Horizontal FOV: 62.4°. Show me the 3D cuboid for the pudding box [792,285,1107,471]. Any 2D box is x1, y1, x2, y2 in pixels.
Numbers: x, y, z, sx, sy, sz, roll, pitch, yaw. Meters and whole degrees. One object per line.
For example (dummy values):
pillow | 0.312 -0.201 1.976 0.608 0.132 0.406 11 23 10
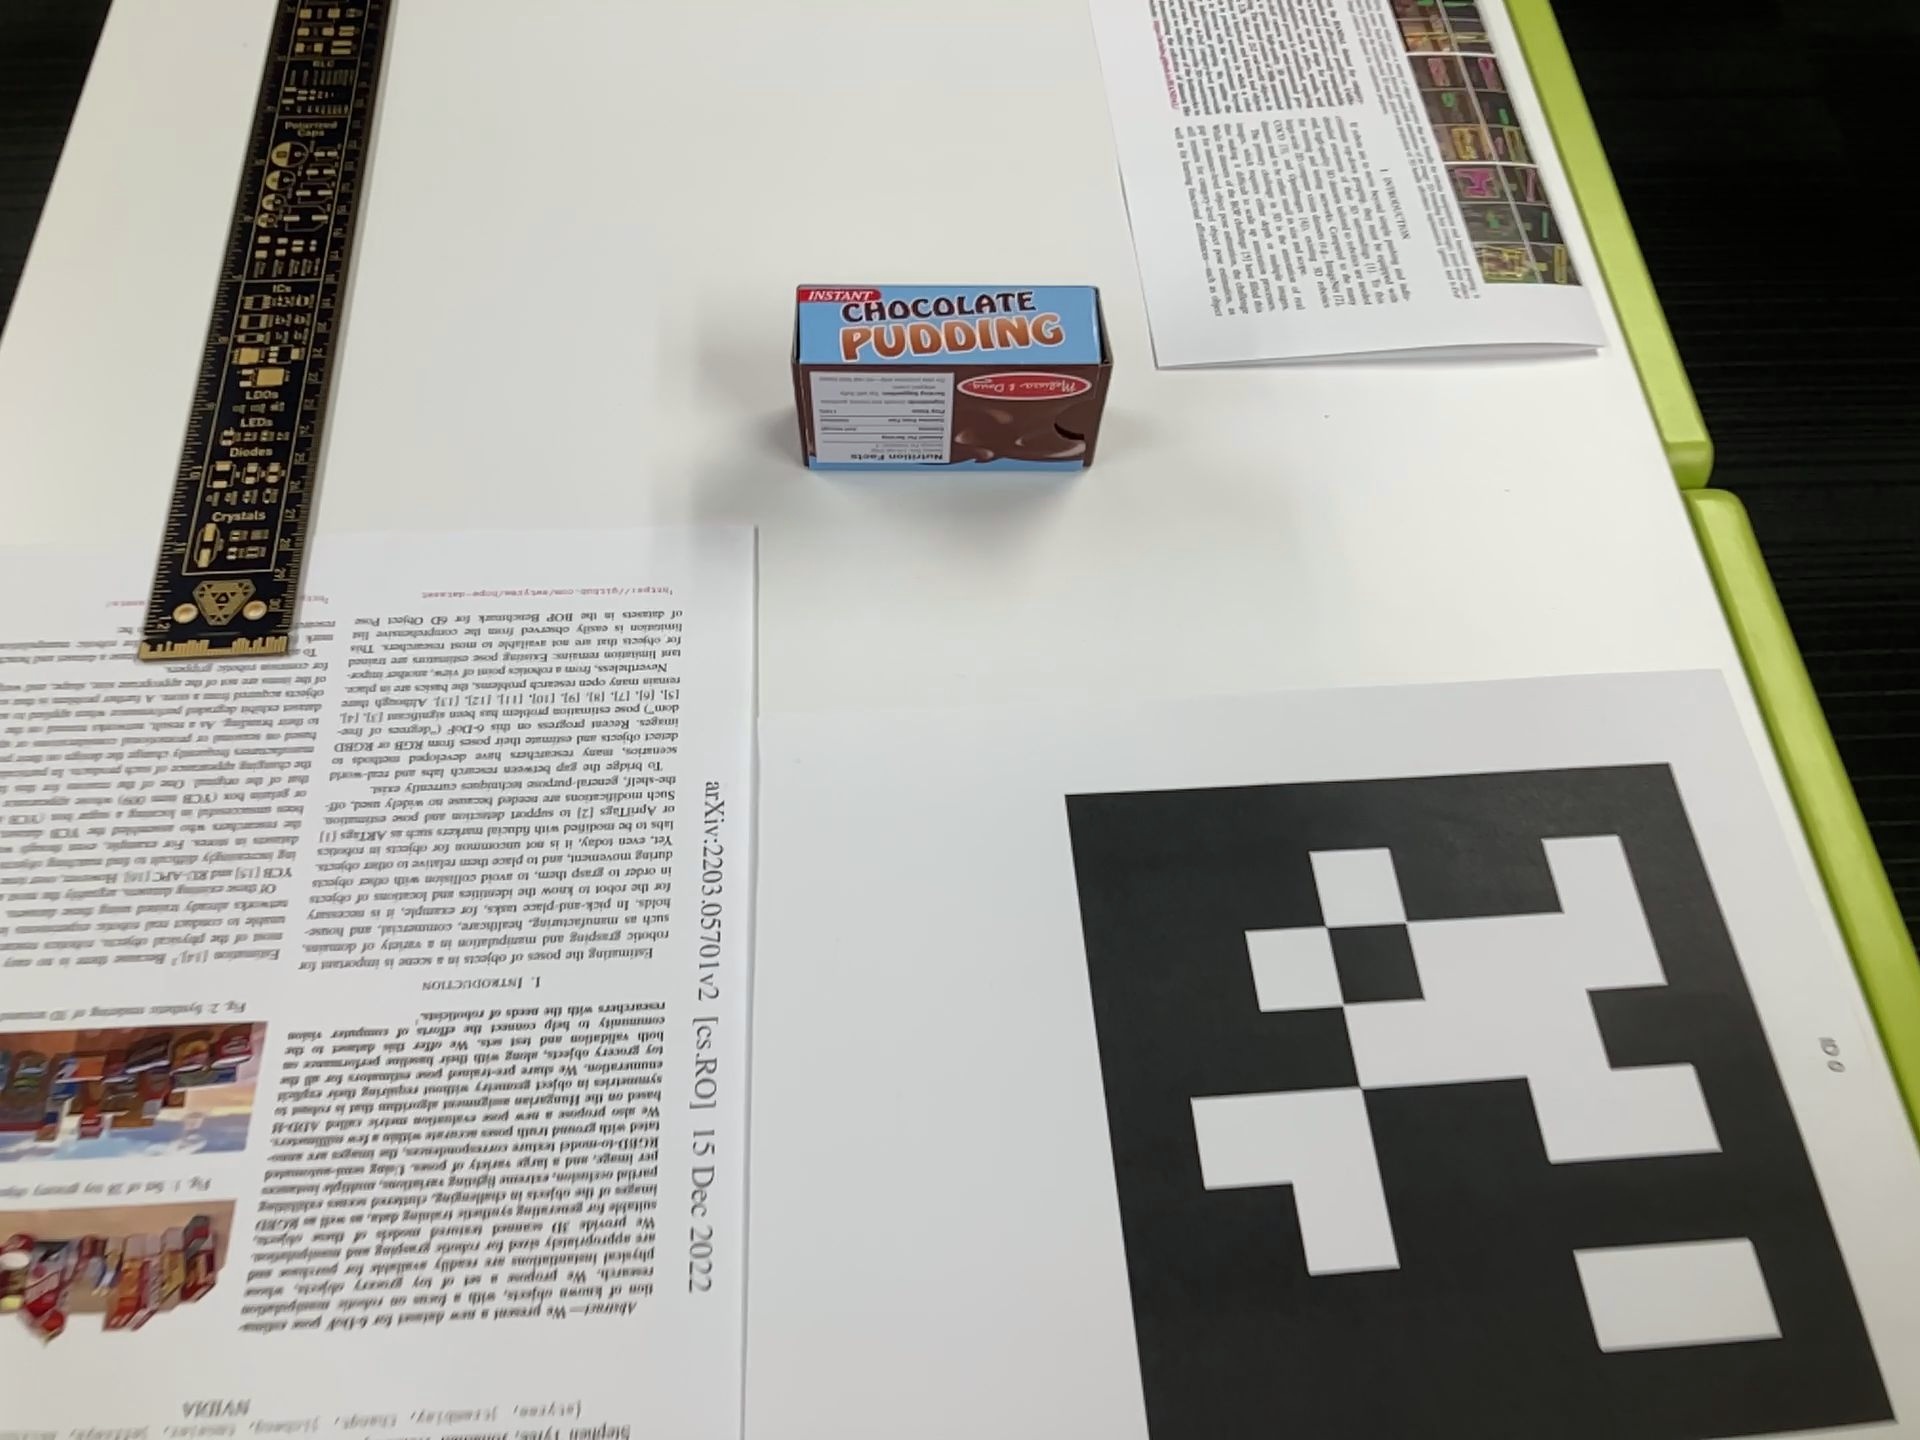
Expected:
pudding box | -0.004 -0.095 0.446 0.083 0.049 0.030 -1 62 -3
